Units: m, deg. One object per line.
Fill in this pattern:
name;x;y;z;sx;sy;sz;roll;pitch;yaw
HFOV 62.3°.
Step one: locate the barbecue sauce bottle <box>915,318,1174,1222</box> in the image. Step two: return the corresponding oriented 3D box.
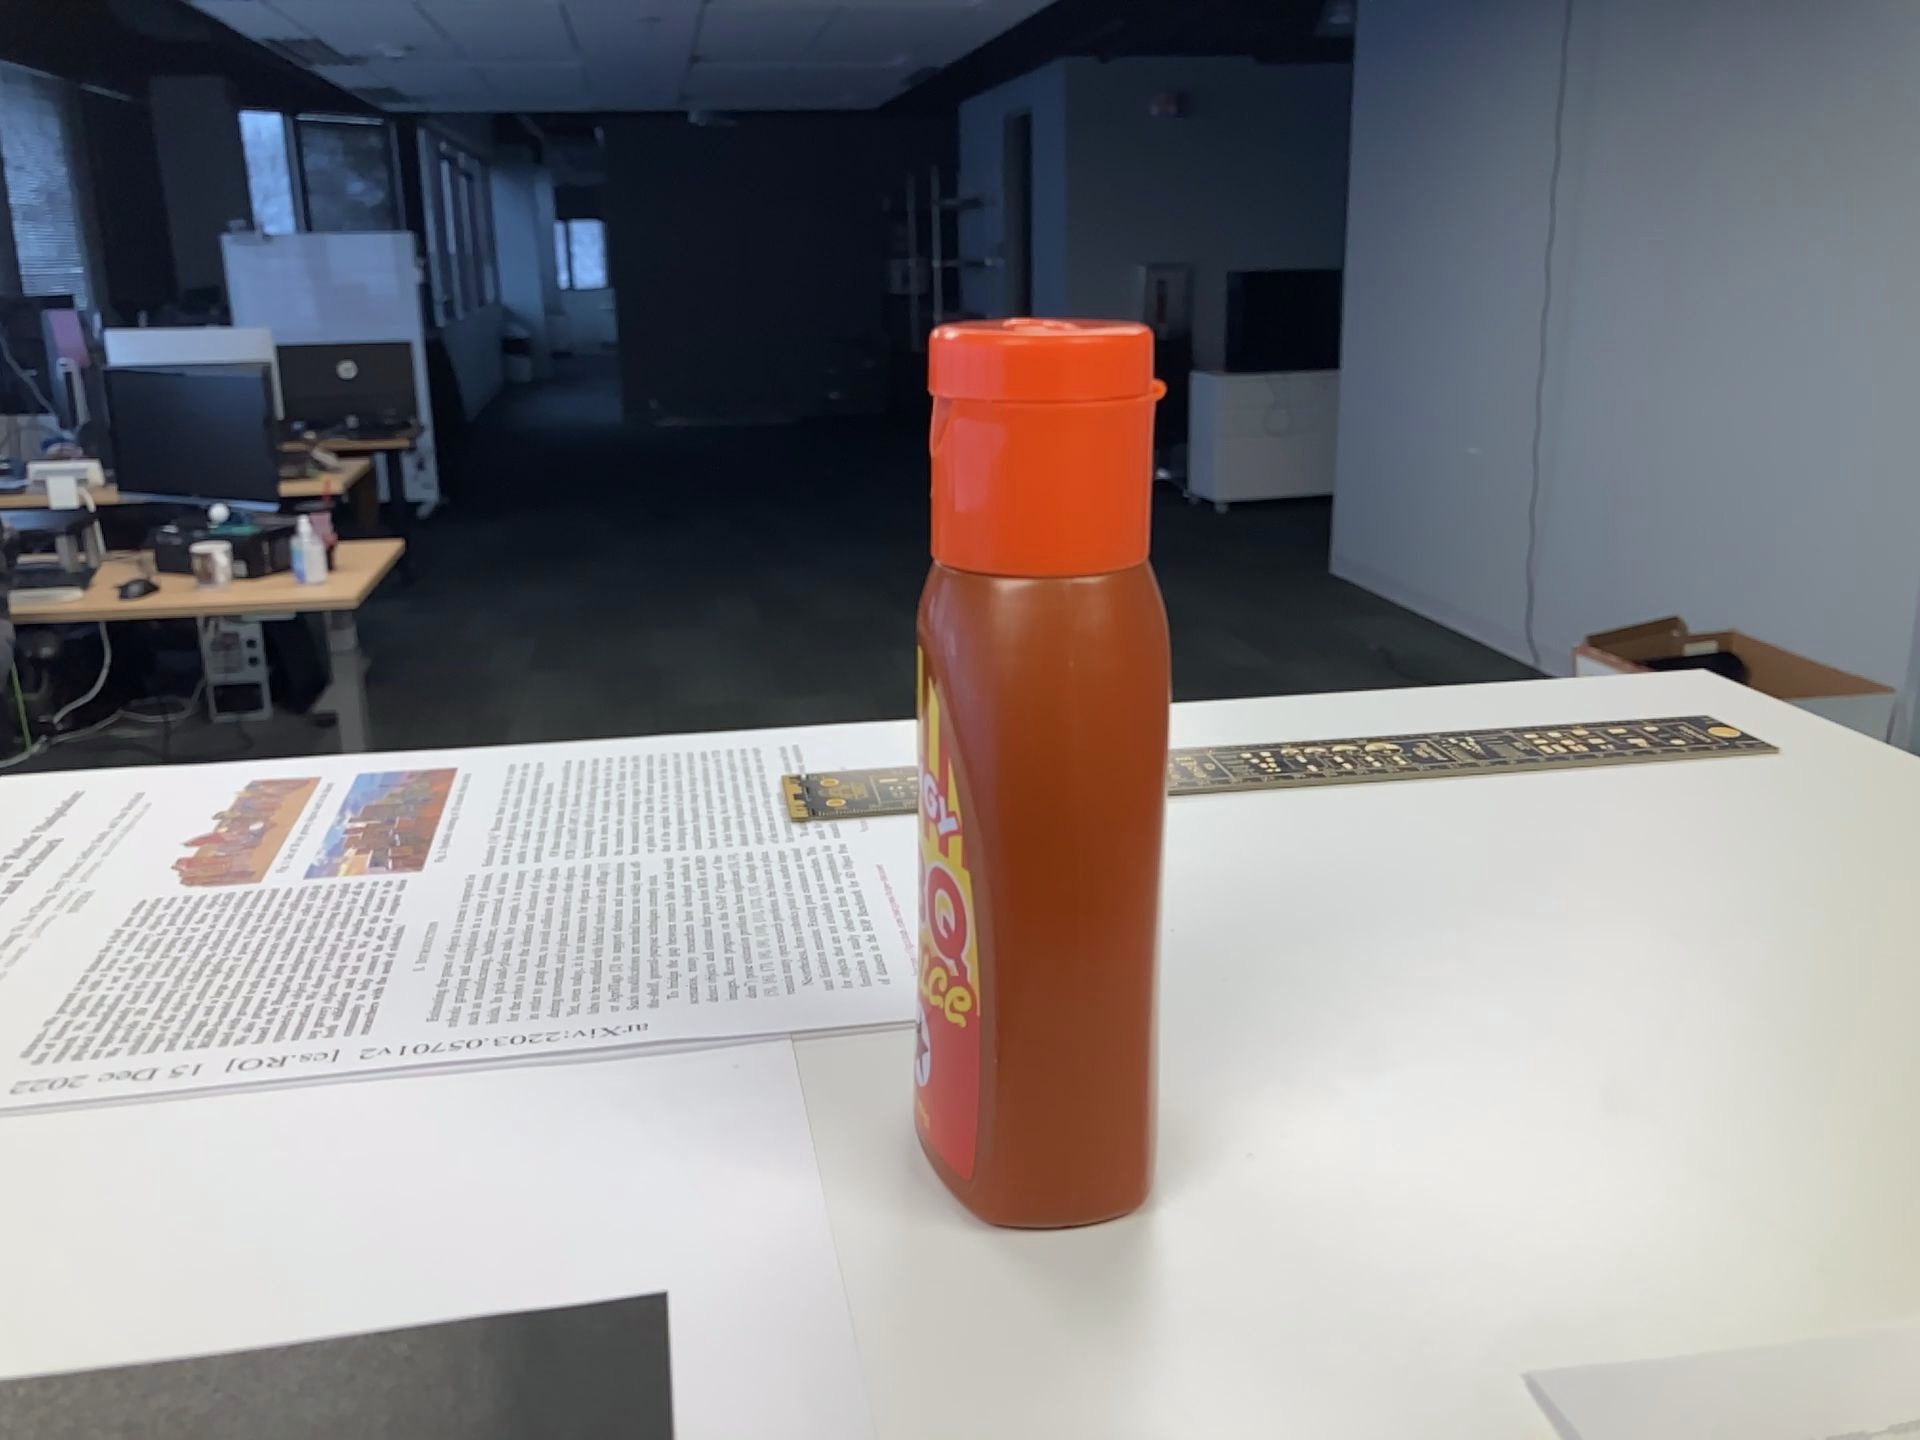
barbecue sauce bottle;0.014;0.007;0.276;0.043;0.148;0.065;-3;16;-10
